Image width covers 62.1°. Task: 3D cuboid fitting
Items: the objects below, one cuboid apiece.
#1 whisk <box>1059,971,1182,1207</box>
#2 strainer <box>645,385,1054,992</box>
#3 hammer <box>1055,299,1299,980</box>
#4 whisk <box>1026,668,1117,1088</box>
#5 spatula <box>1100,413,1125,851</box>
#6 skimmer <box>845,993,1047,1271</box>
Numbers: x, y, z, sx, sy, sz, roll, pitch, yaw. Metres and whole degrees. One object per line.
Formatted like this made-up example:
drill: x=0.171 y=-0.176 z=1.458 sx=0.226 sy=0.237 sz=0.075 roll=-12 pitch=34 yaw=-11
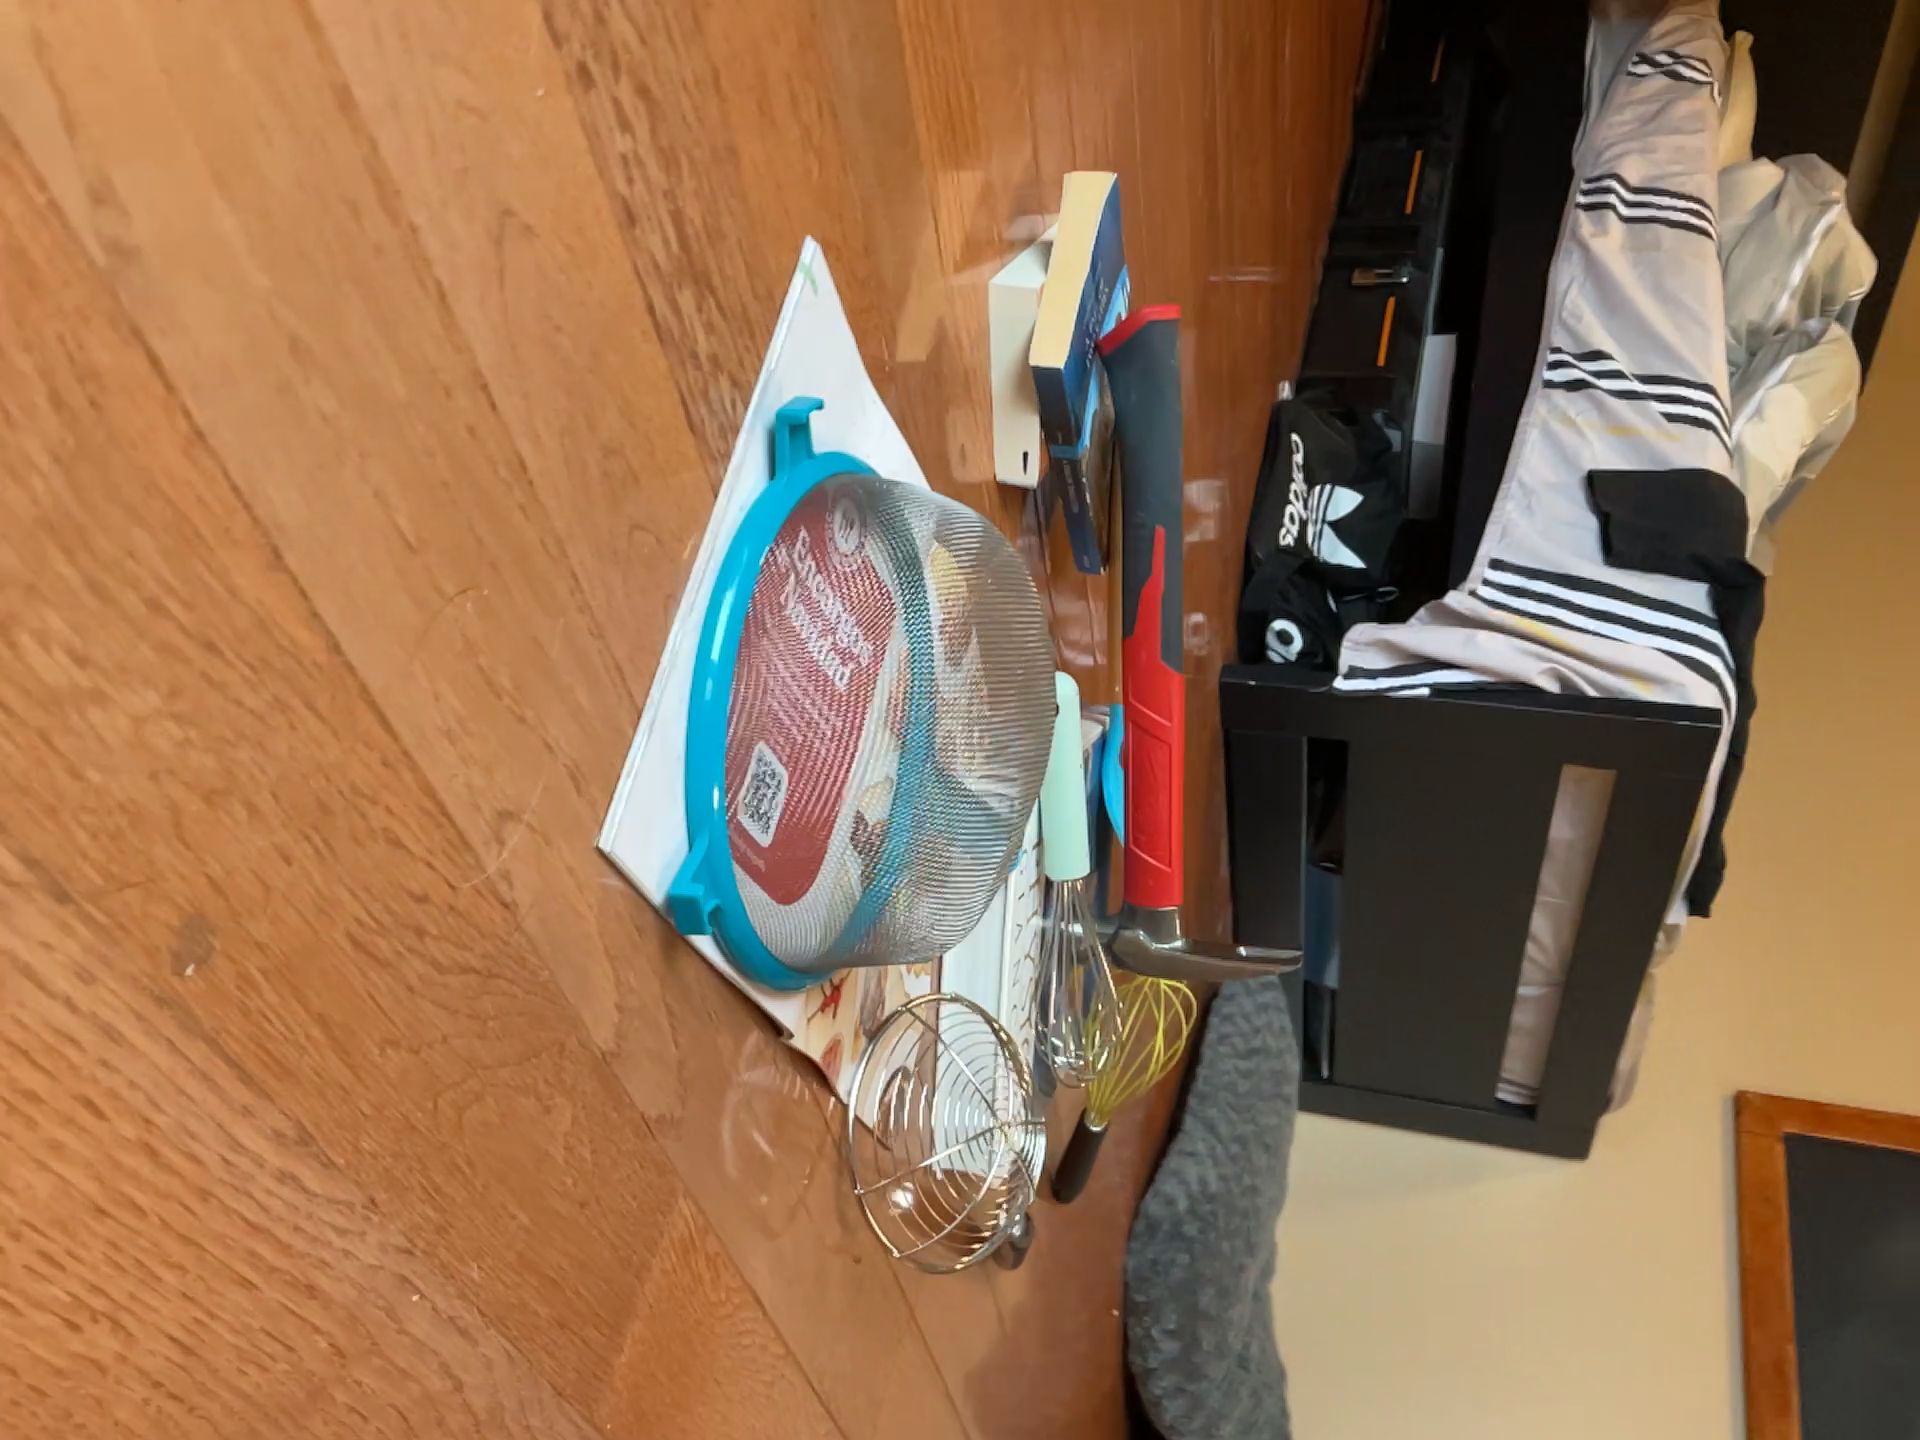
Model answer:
whisk: x=0.099 y=0.265 z=1.111 sx=0.311 sy=0.067 sz=0.080 roll=100 pitch=-7 yaw=-46
strainer: x=0.004 y=0.020 z=0.659 sx=0.340 sy=0.095 sz=0.211 roll=40 pitch=56 yaw=-62
hammer: x=0.122 y=-0.037 z=0.896 sx=0.038 sy=0.143 sz=0.386 roll=-48 pitch=138 yaw=-69
whisk: x=0.058 y=0.090 z=0.875 sx=0.059 sy=0.057 sz=0.246 roll=-18 pitch=112 yaw=-38
spatula: x=0.110 y=-0.037 z=0.993 sx=0.082 sy=0.044 sz=0.317 roll=-53 pitch=145 yaw=-58
skimmer: x=-0.002 y=0.254 z=0.873 sx=0.363 sy=0.090 sz=0.127 roll=88 pitch=12 yaw=-63
